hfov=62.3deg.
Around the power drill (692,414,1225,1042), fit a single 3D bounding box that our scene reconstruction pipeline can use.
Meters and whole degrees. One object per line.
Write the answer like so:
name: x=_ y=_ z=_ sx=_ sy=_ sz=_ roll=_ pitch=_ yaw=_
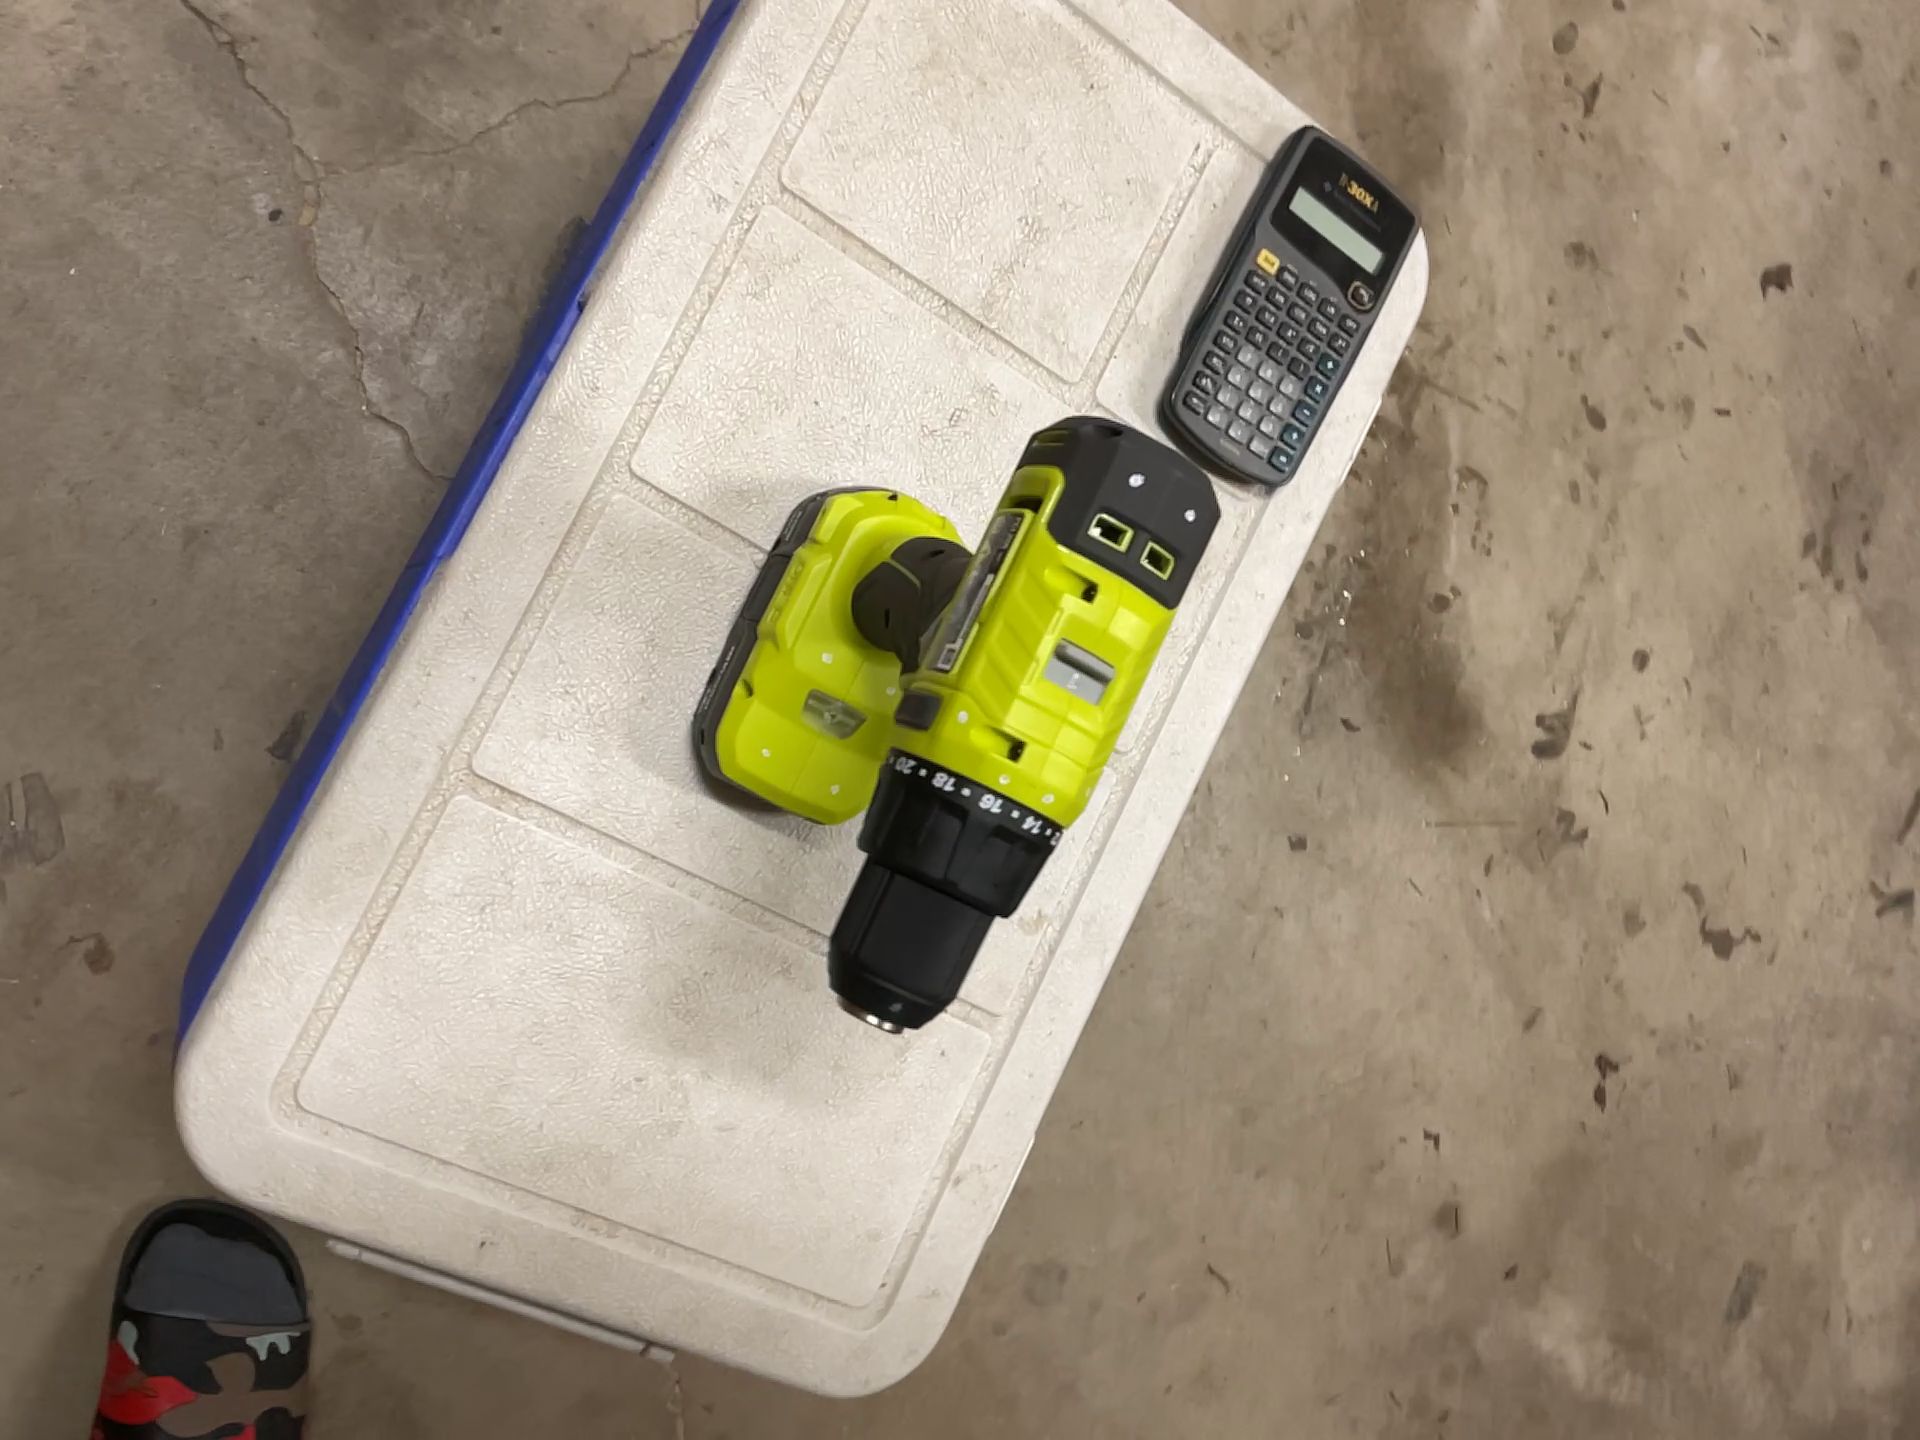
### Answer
power drill: x=-0.019 y=-0.004 z=0.550 sx=0.080 sy=0.228 sz=0.190 roll=28 pitch=85 yaw=-24
